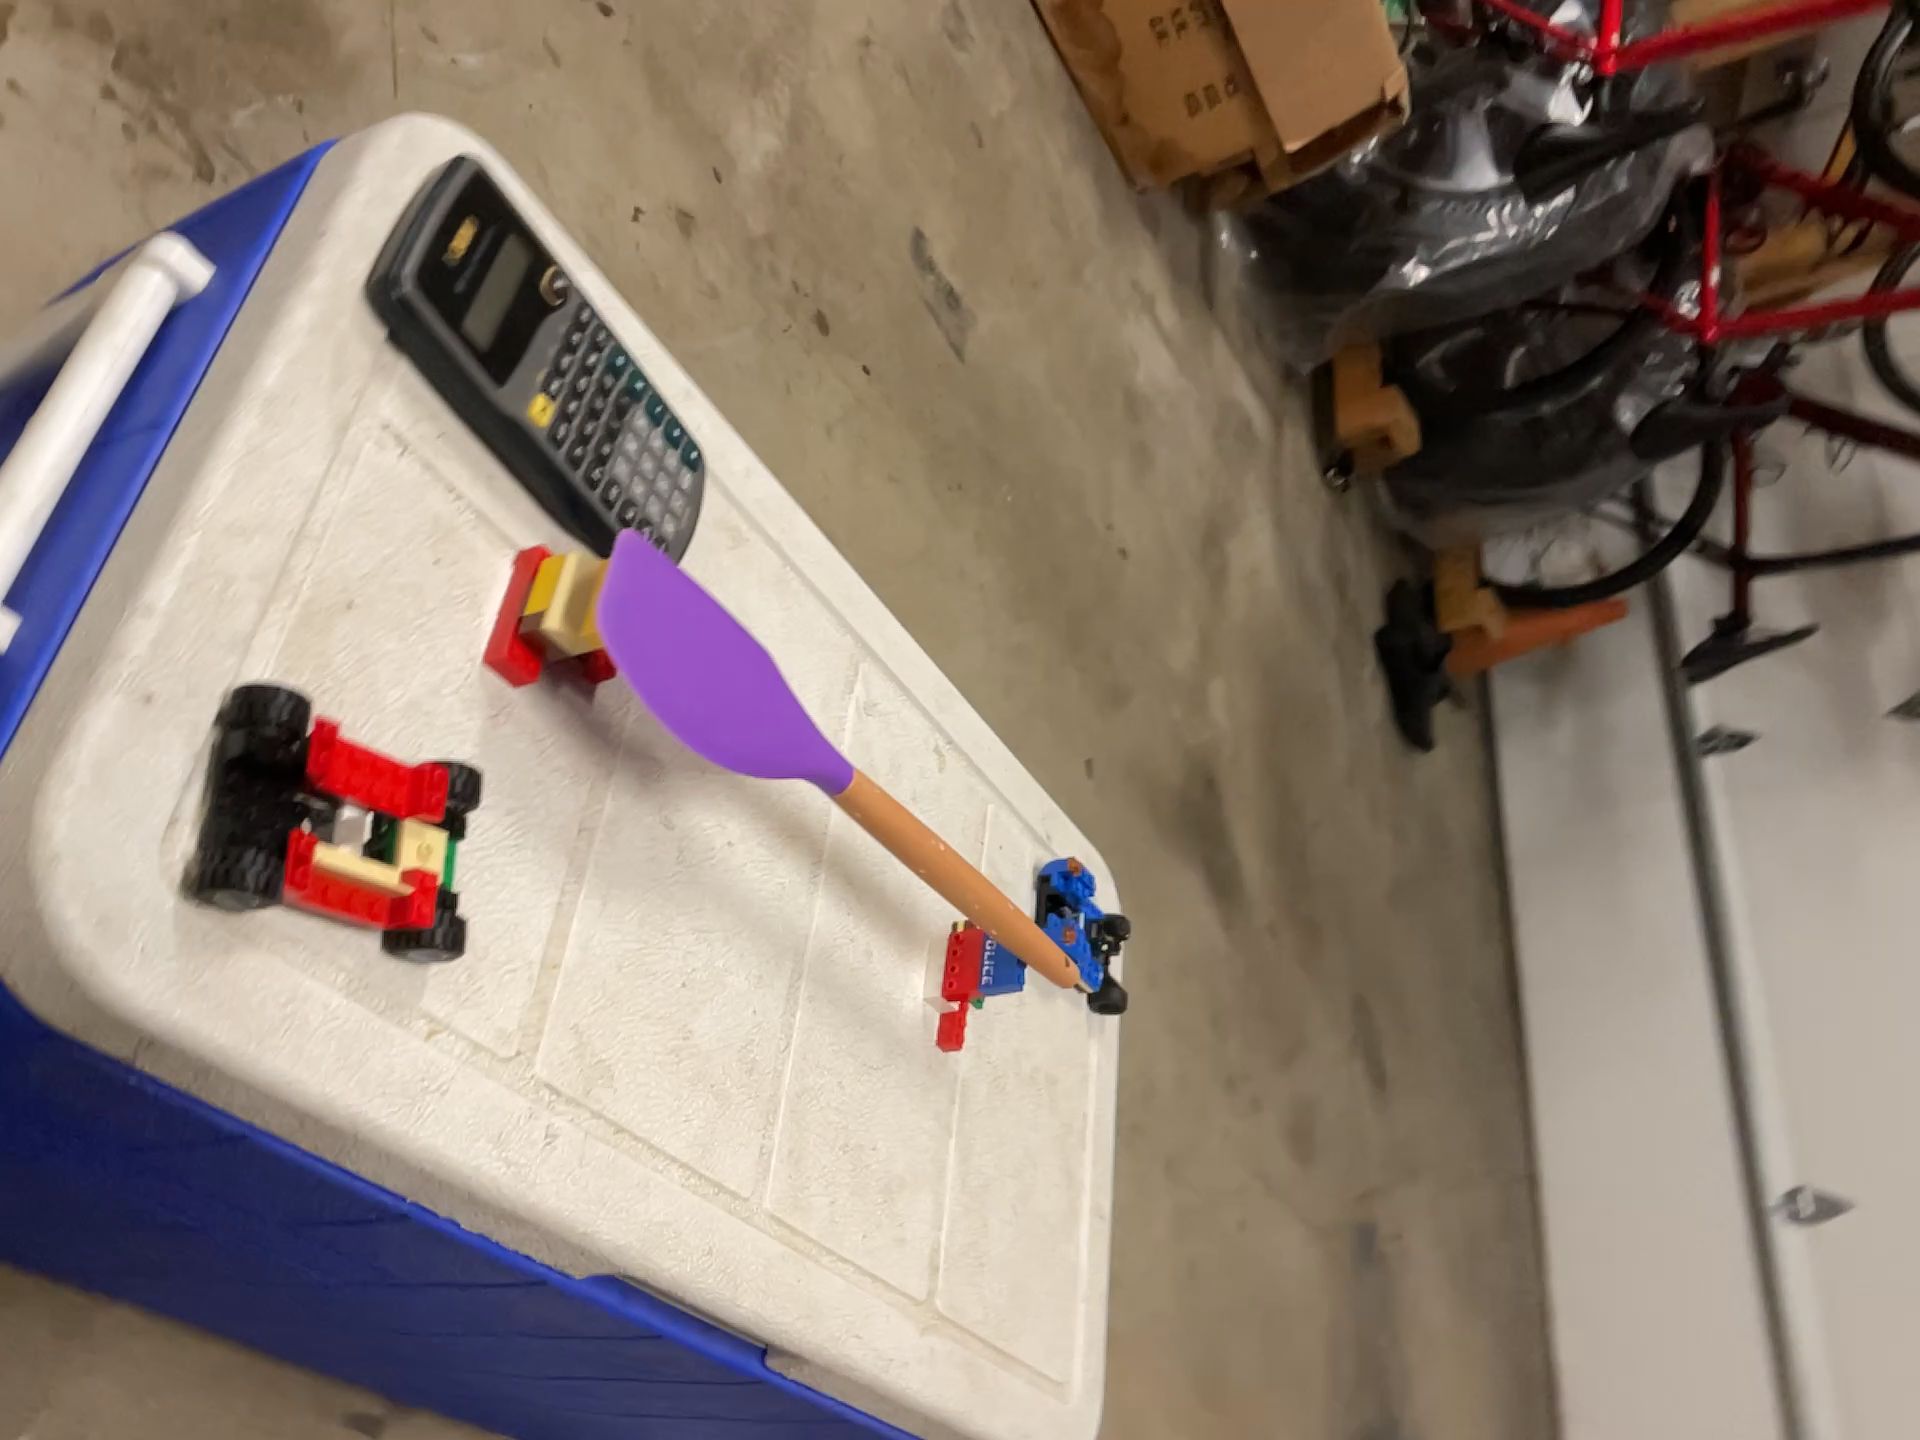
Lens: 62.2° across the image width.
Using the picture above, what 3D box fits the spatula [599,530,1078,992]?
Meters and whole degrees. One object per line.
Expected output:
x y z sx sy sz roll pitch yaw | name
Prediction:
-0.033 0.038 0.615 0.316 0.018 0.060 45 40 -44 | spatula
